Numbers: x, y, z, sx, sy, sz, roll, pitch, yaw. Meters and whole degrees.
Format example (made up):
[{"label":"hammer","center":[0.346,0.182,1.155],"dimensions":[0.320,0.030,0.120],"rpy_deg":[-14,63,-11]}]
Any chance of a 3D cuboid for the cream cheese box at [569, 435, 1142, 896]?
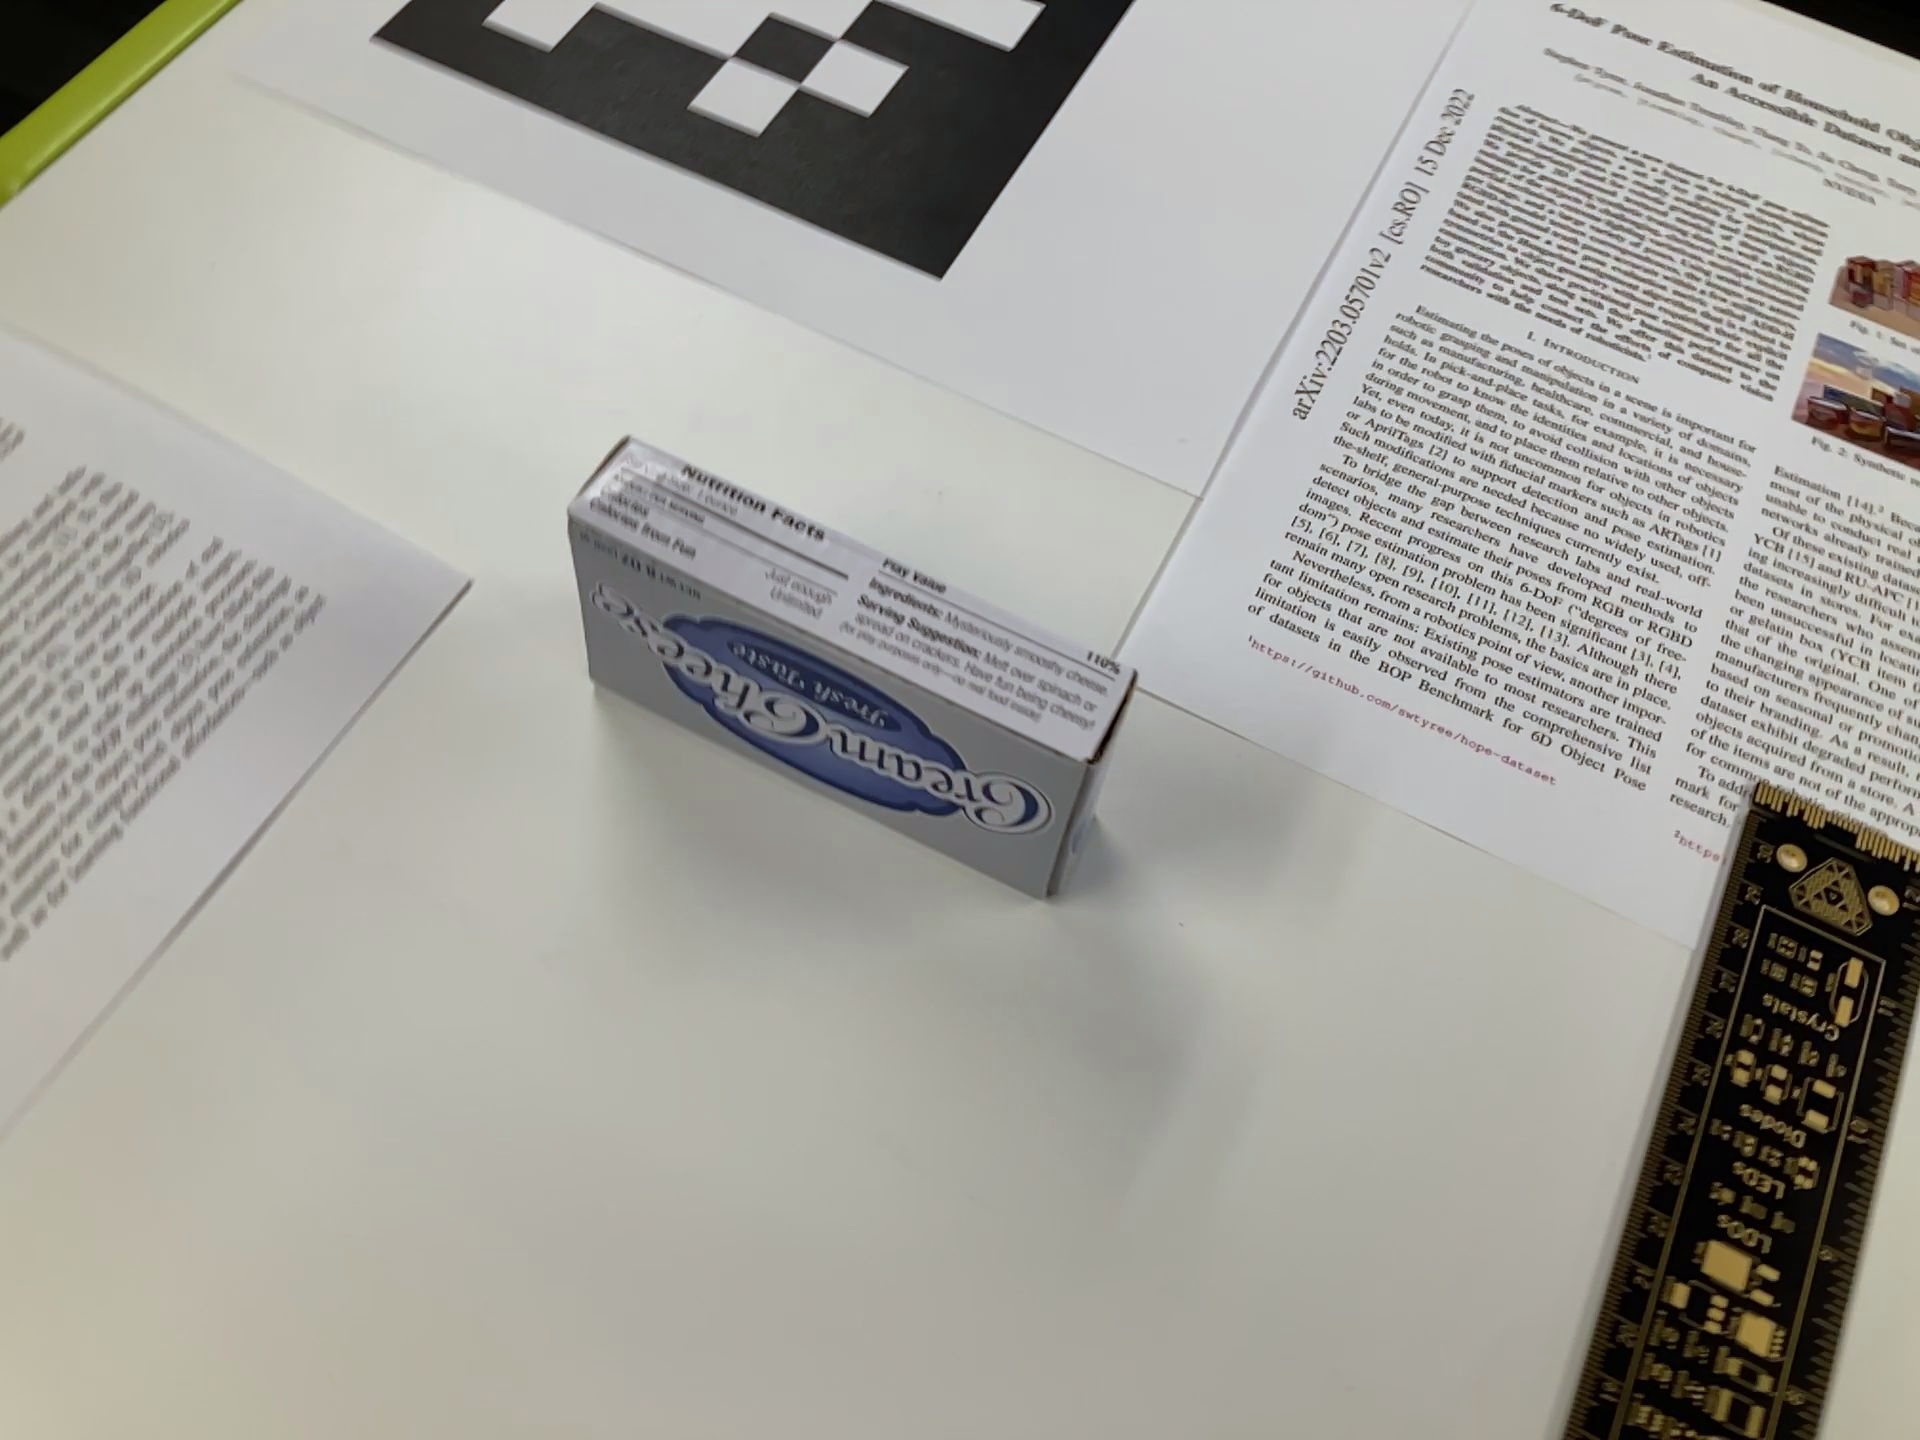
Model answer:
[{"label":"cream cheese box","center":[-0.021,-0.009,0.291],"dimensions":[0.104,0.053,0.024],"rpy_deg":[25,60,9]}]
